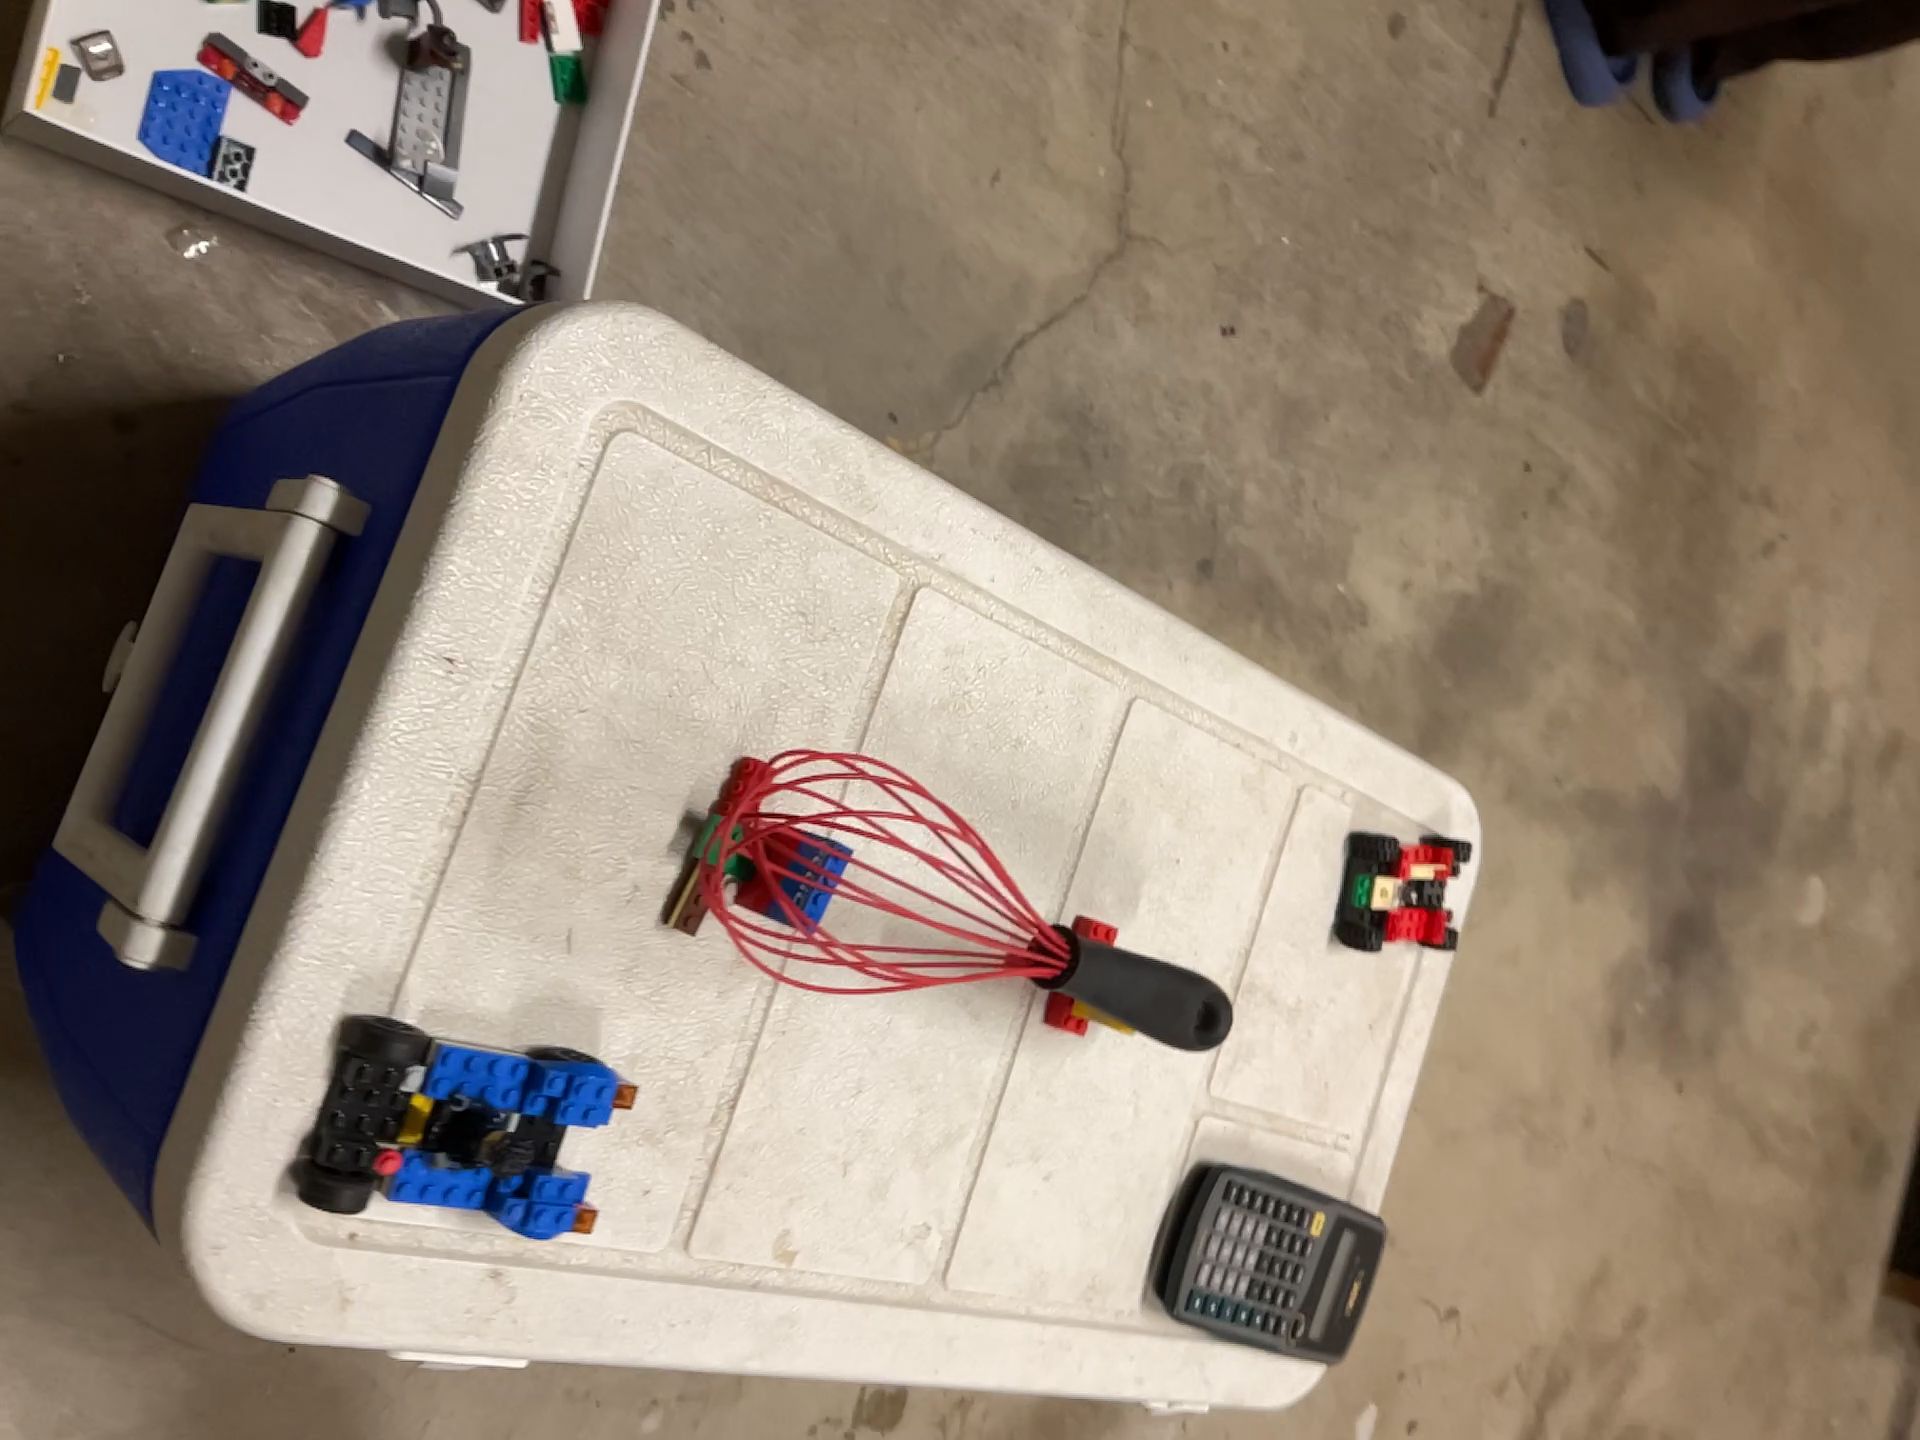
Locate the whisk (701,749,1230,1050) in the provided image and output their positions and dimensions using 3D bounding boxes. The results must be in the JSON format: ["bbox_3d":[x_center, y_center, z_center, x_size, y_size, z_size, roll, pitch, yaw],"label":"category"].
[{"bbox_3d":[0.021,0.077,0.553,0.295,0.073,0.073,30,75,-48],"label":"whisk"}]
